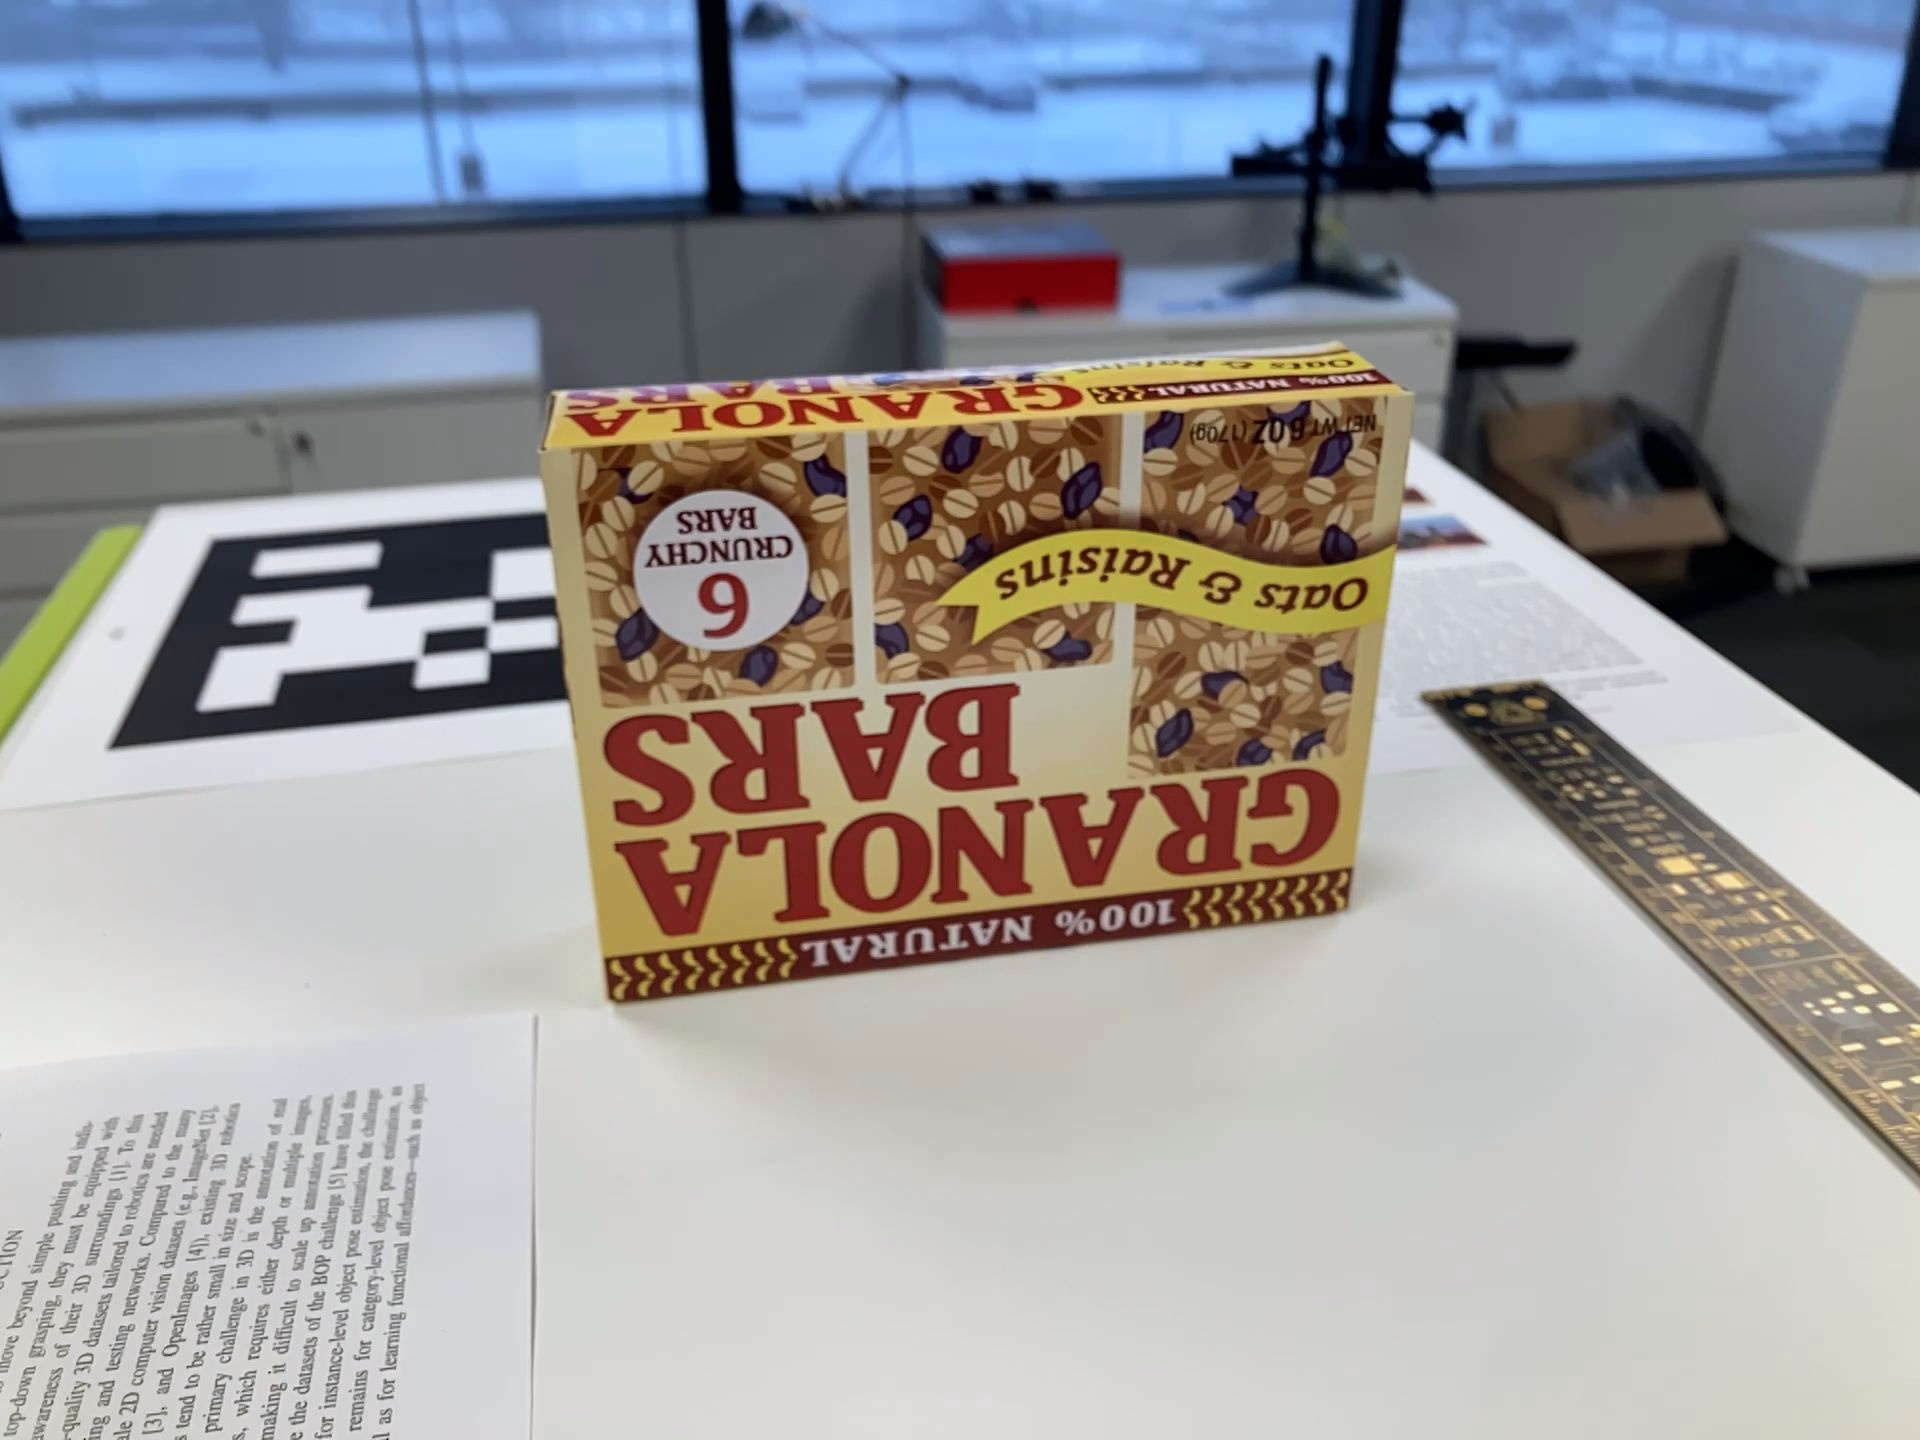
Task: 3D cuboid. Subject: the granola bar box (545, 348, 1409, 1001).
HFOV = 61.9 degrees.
[{"bbox_3d":[0.003,-0.010,0.341,0.165,0.124,0.039,-5,28,-10],"label":"granola bar box"}]
